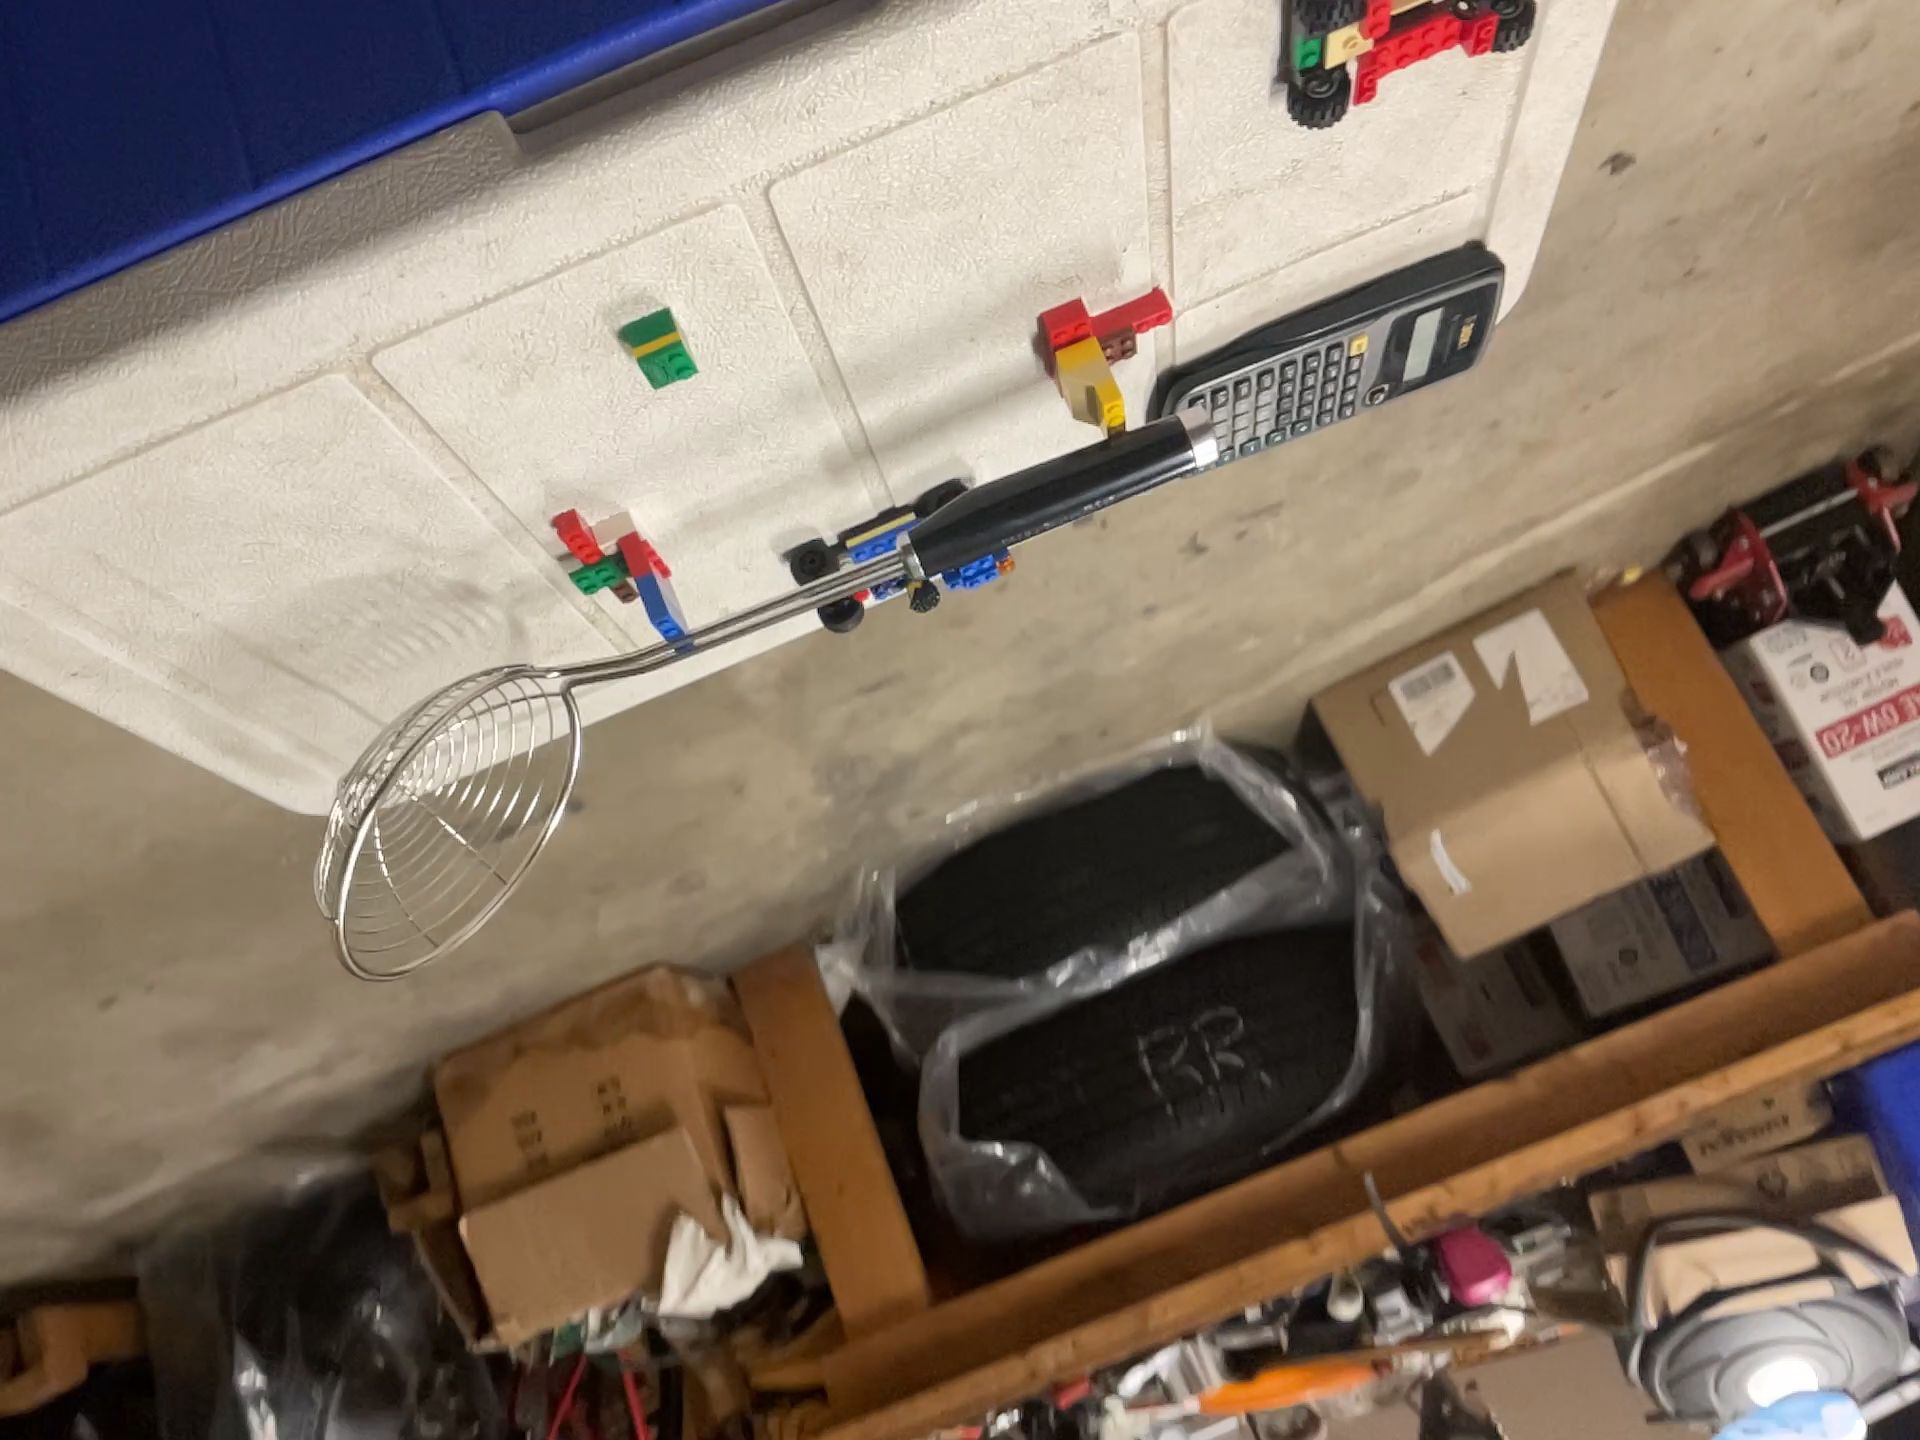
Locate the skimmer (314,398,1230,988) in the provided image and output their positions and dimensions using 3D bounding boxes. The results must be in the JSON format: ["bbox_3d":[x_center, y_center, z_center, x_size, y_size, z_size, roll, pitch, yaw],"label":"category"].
[{"bbox_3d":[-0.062,-0.013,0.580,0.363,0.090,0.127,-23,162,2],"label":"skimmer"}]
